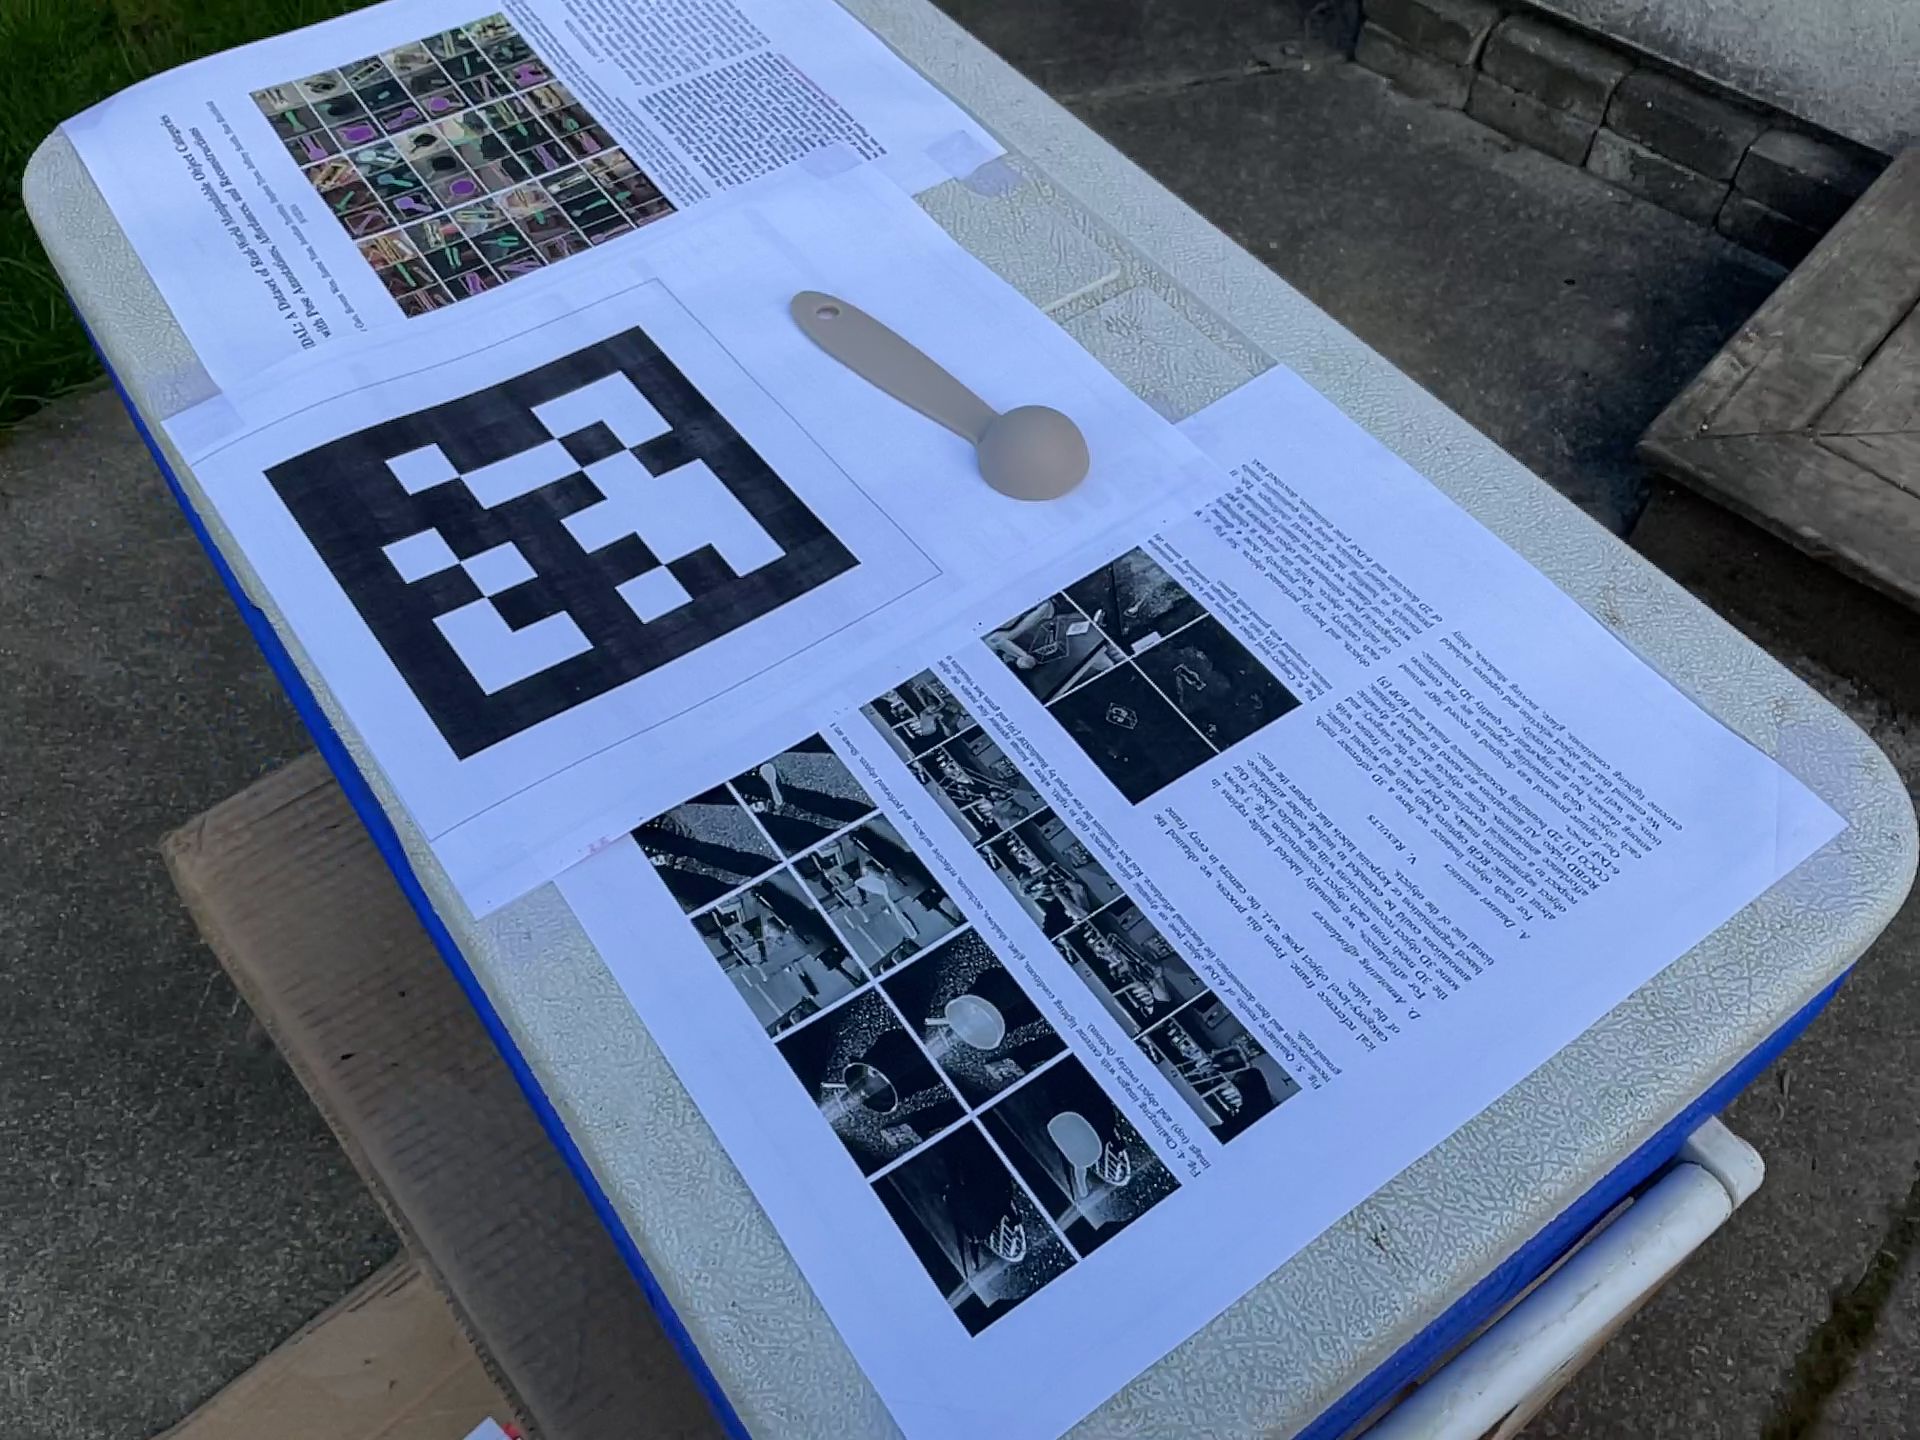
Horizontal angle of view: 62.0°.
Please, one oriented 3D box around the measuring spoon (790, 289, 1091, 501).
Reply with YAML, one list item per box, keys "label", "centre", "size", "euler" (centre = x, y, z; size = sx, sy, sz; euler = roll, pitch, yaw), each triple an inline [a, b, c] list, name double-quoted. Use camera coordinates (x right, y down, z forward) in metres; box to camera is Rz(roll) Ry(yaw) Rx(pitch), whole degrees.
- label: "measuring spoon"
  centre: [-0.010, -0.109, 0.498]
  size: [0.124, 0.018, 0.034]
  euler: [38, 62, 24]
